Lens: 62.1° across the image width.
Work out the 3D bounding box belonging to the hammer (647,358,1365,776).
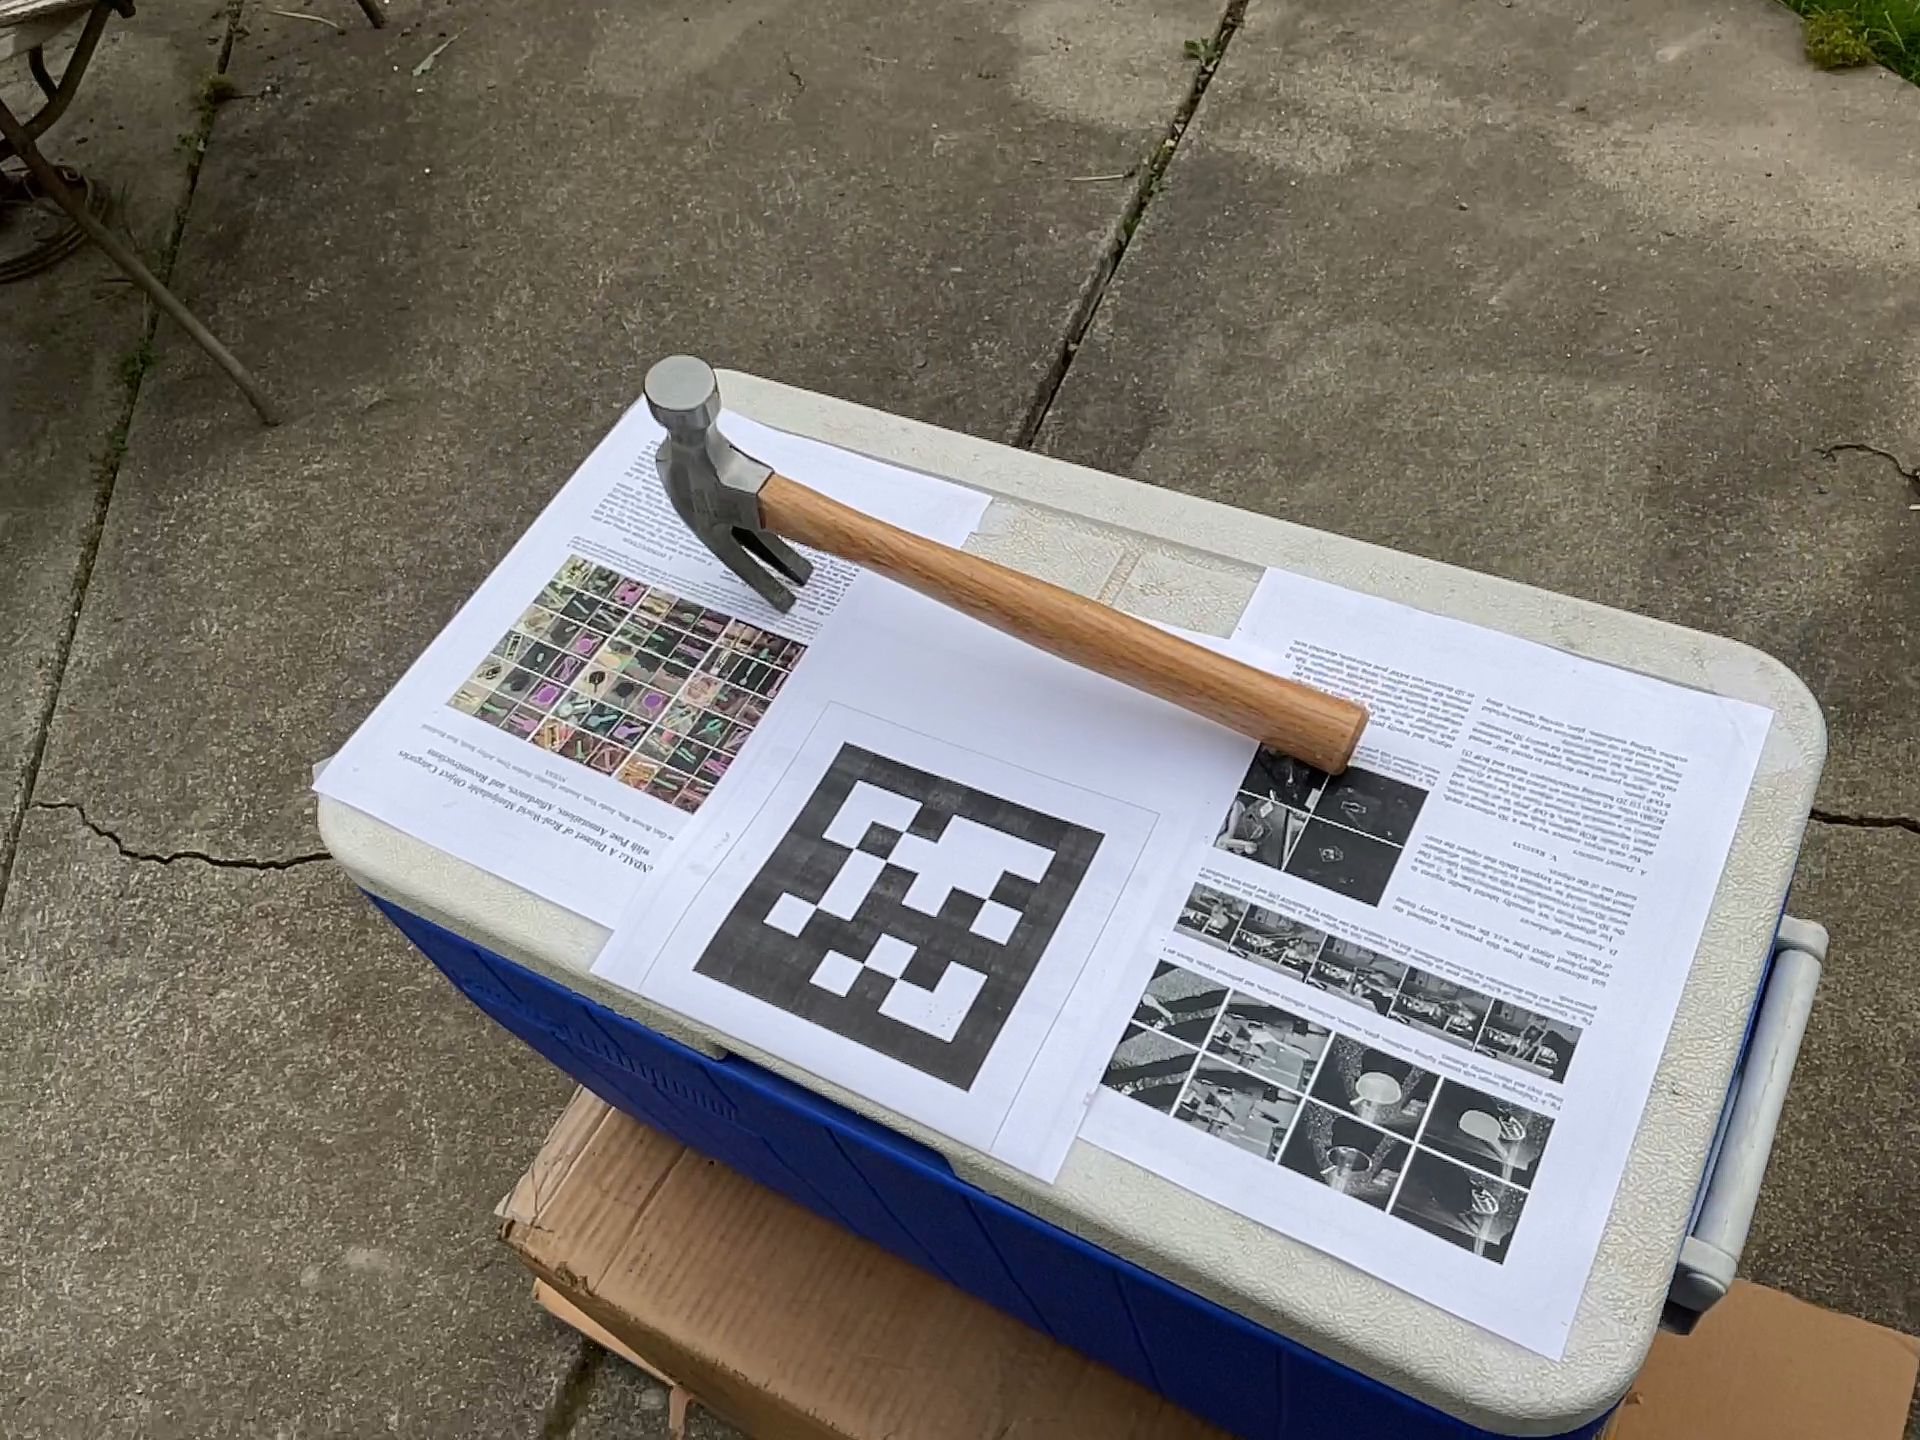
[{"bbox_3d":[0.015,-0.053,0.702,0.331,0.130,0.031,24,64,13],"label":"hammer"}]
